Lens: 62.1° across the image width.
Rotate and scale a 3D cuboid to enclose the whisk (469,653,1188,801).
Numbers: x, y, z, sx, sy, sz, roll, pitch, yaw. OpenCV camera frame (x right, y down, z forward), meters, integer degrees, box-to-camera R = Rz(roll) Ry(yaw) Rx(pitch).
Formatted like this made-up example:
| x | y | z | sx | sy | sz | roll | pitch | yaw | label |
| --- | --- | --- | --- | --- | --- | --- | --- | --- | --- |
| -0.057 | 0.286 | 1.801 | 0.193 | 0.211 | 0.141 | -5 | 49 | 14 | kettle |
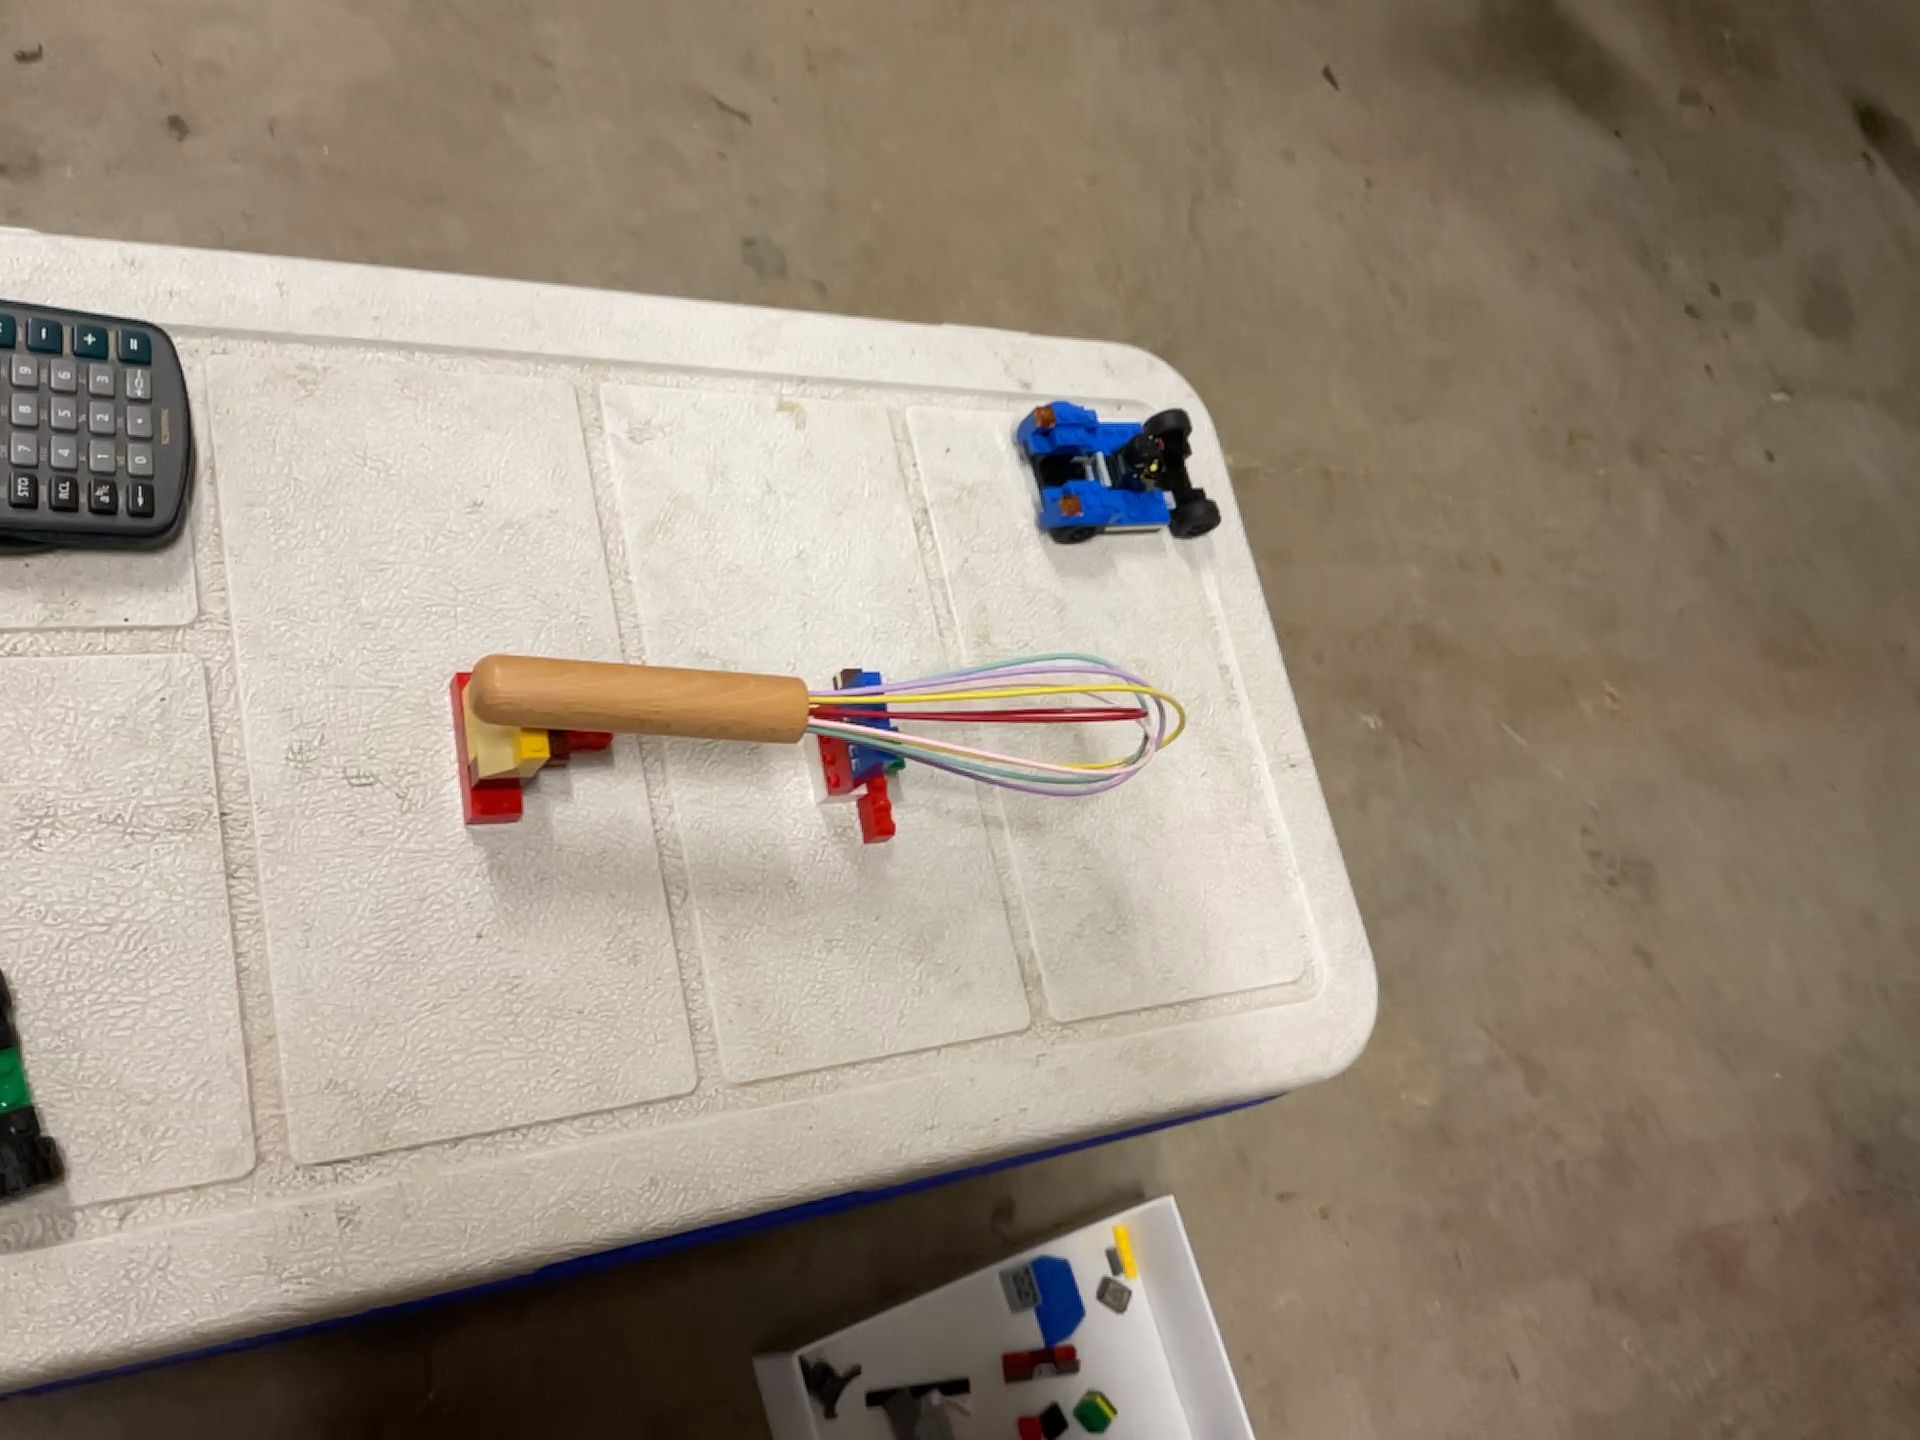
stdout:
| x | y | z | sx | sy | sz | roll | pitch | yaw | label |
| --- | --- | --- | --- | --- | --- | --- | --- | --- | --- |
| -0.031 | -0.005 | 0.514 | 0.245 | 0.047 | 0.051 | 4 | 81 | -27 | whisk |
